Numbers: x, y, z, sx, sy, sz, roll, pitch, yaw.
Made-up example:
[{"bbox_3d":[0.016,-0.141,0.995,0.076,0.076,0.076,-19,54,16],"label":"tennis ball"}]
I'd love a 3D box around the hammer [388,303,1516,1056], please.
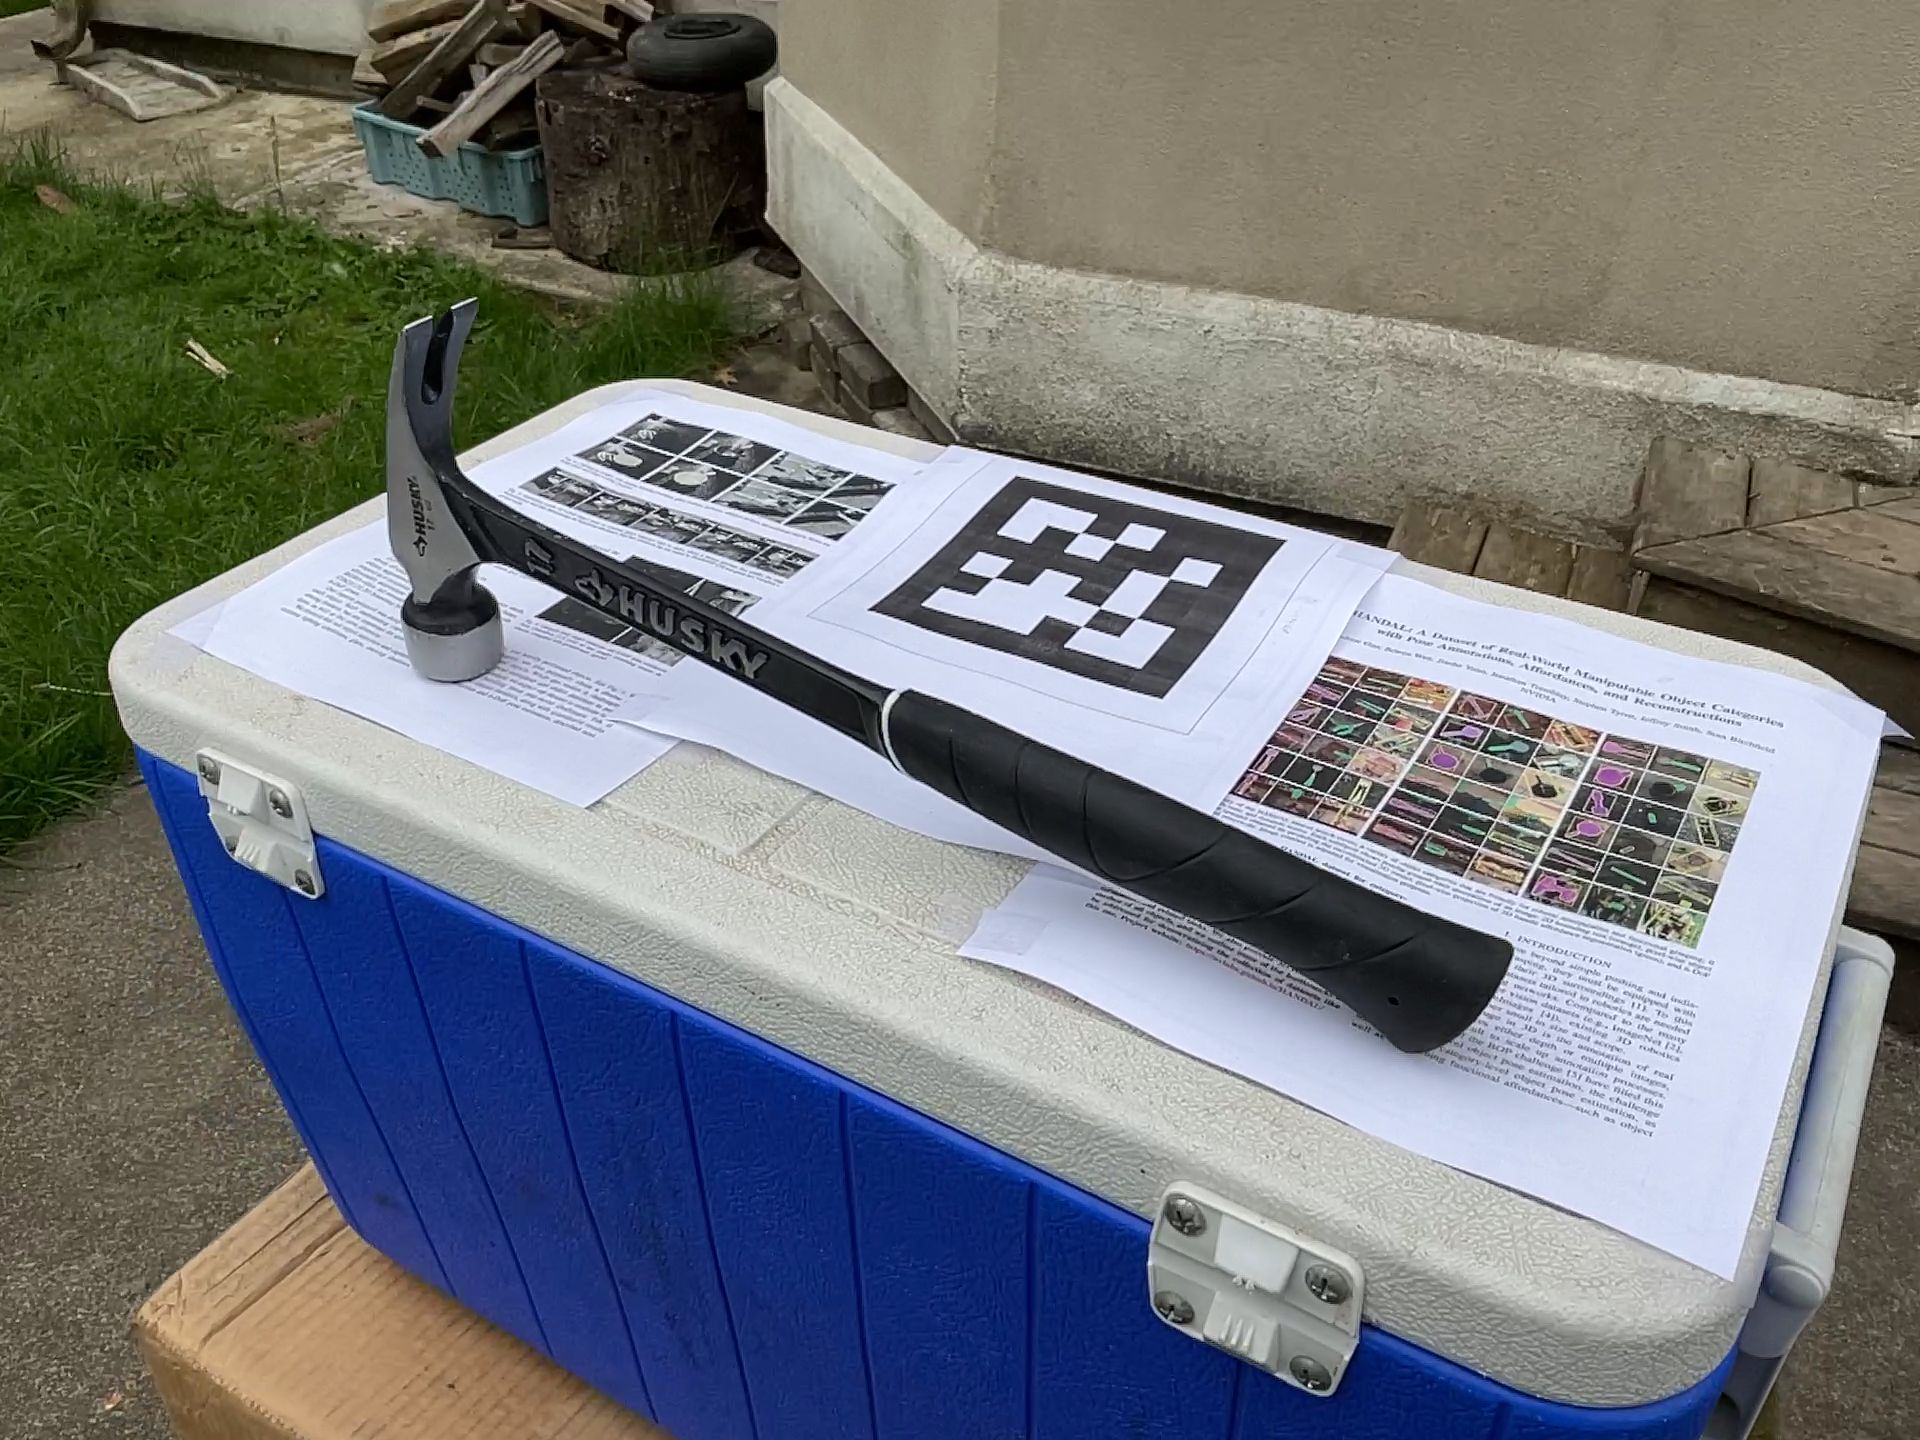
[{"bbox_3d":[-0.030,-0.007,0.498,0.409,0.149,0.036,25,42,22],"label":"hammer"}]
